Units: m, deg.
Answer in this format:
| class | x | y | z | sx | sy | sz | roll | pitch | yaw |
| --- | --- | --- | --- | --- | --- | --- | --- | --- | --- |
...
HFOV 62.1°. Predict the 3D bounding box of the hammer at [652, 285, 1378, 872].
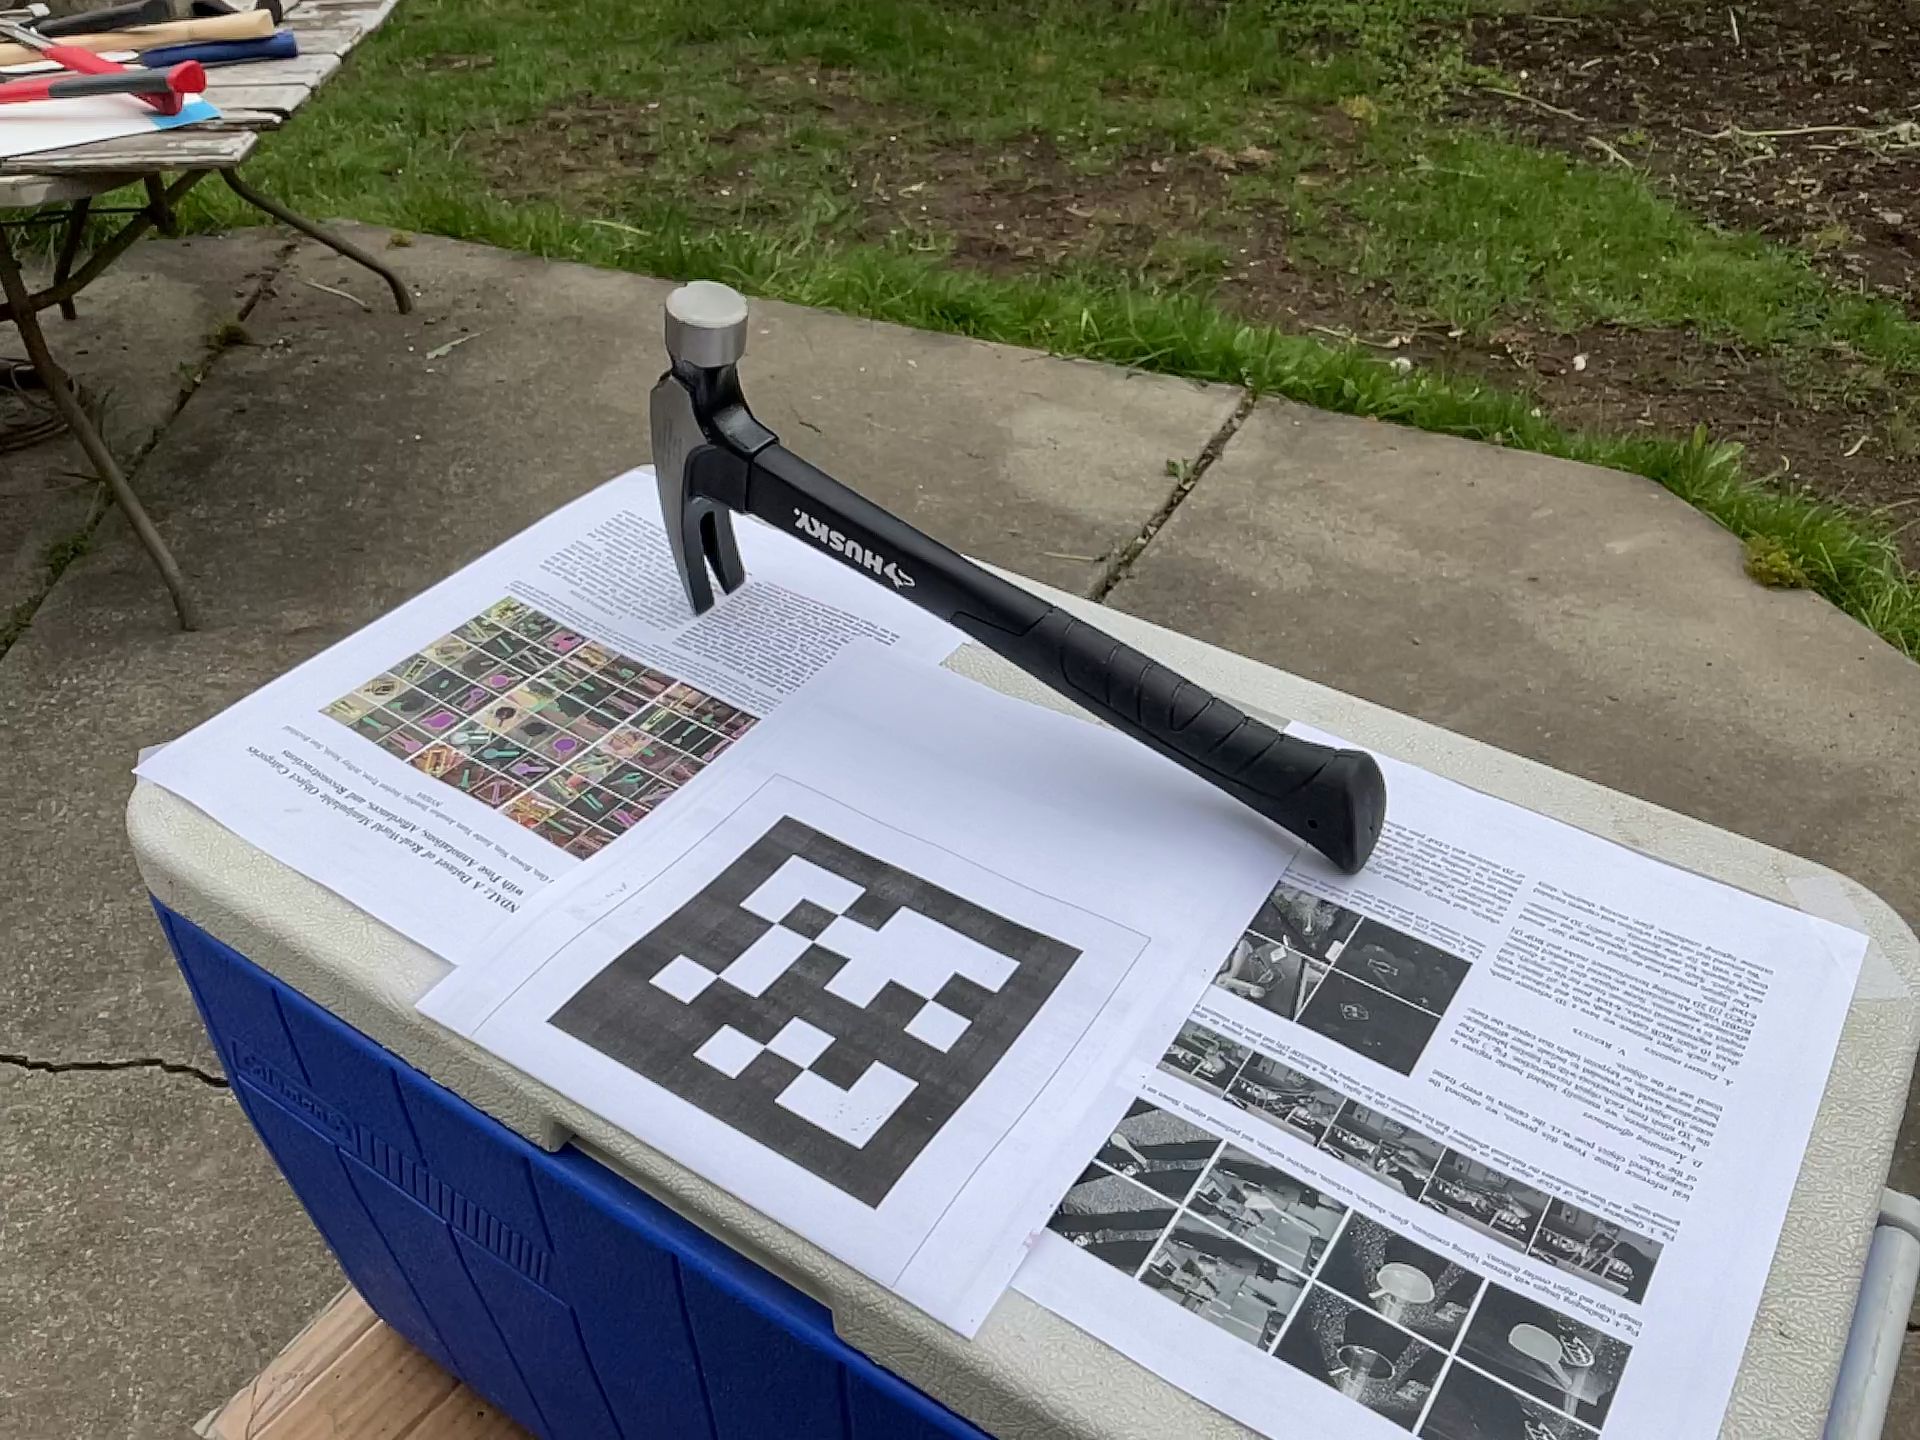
| class | x | y | z | sx | sy | sz | roll | pitch | yaw |
| --- | --- | --- | --- | --- | --- | --- | --- | --- | --- |
| hammer | 0.012 | -0.039 | 0.633 | 0.335 | 0.146 | 0.035 | 32 | 48 | 17 |
